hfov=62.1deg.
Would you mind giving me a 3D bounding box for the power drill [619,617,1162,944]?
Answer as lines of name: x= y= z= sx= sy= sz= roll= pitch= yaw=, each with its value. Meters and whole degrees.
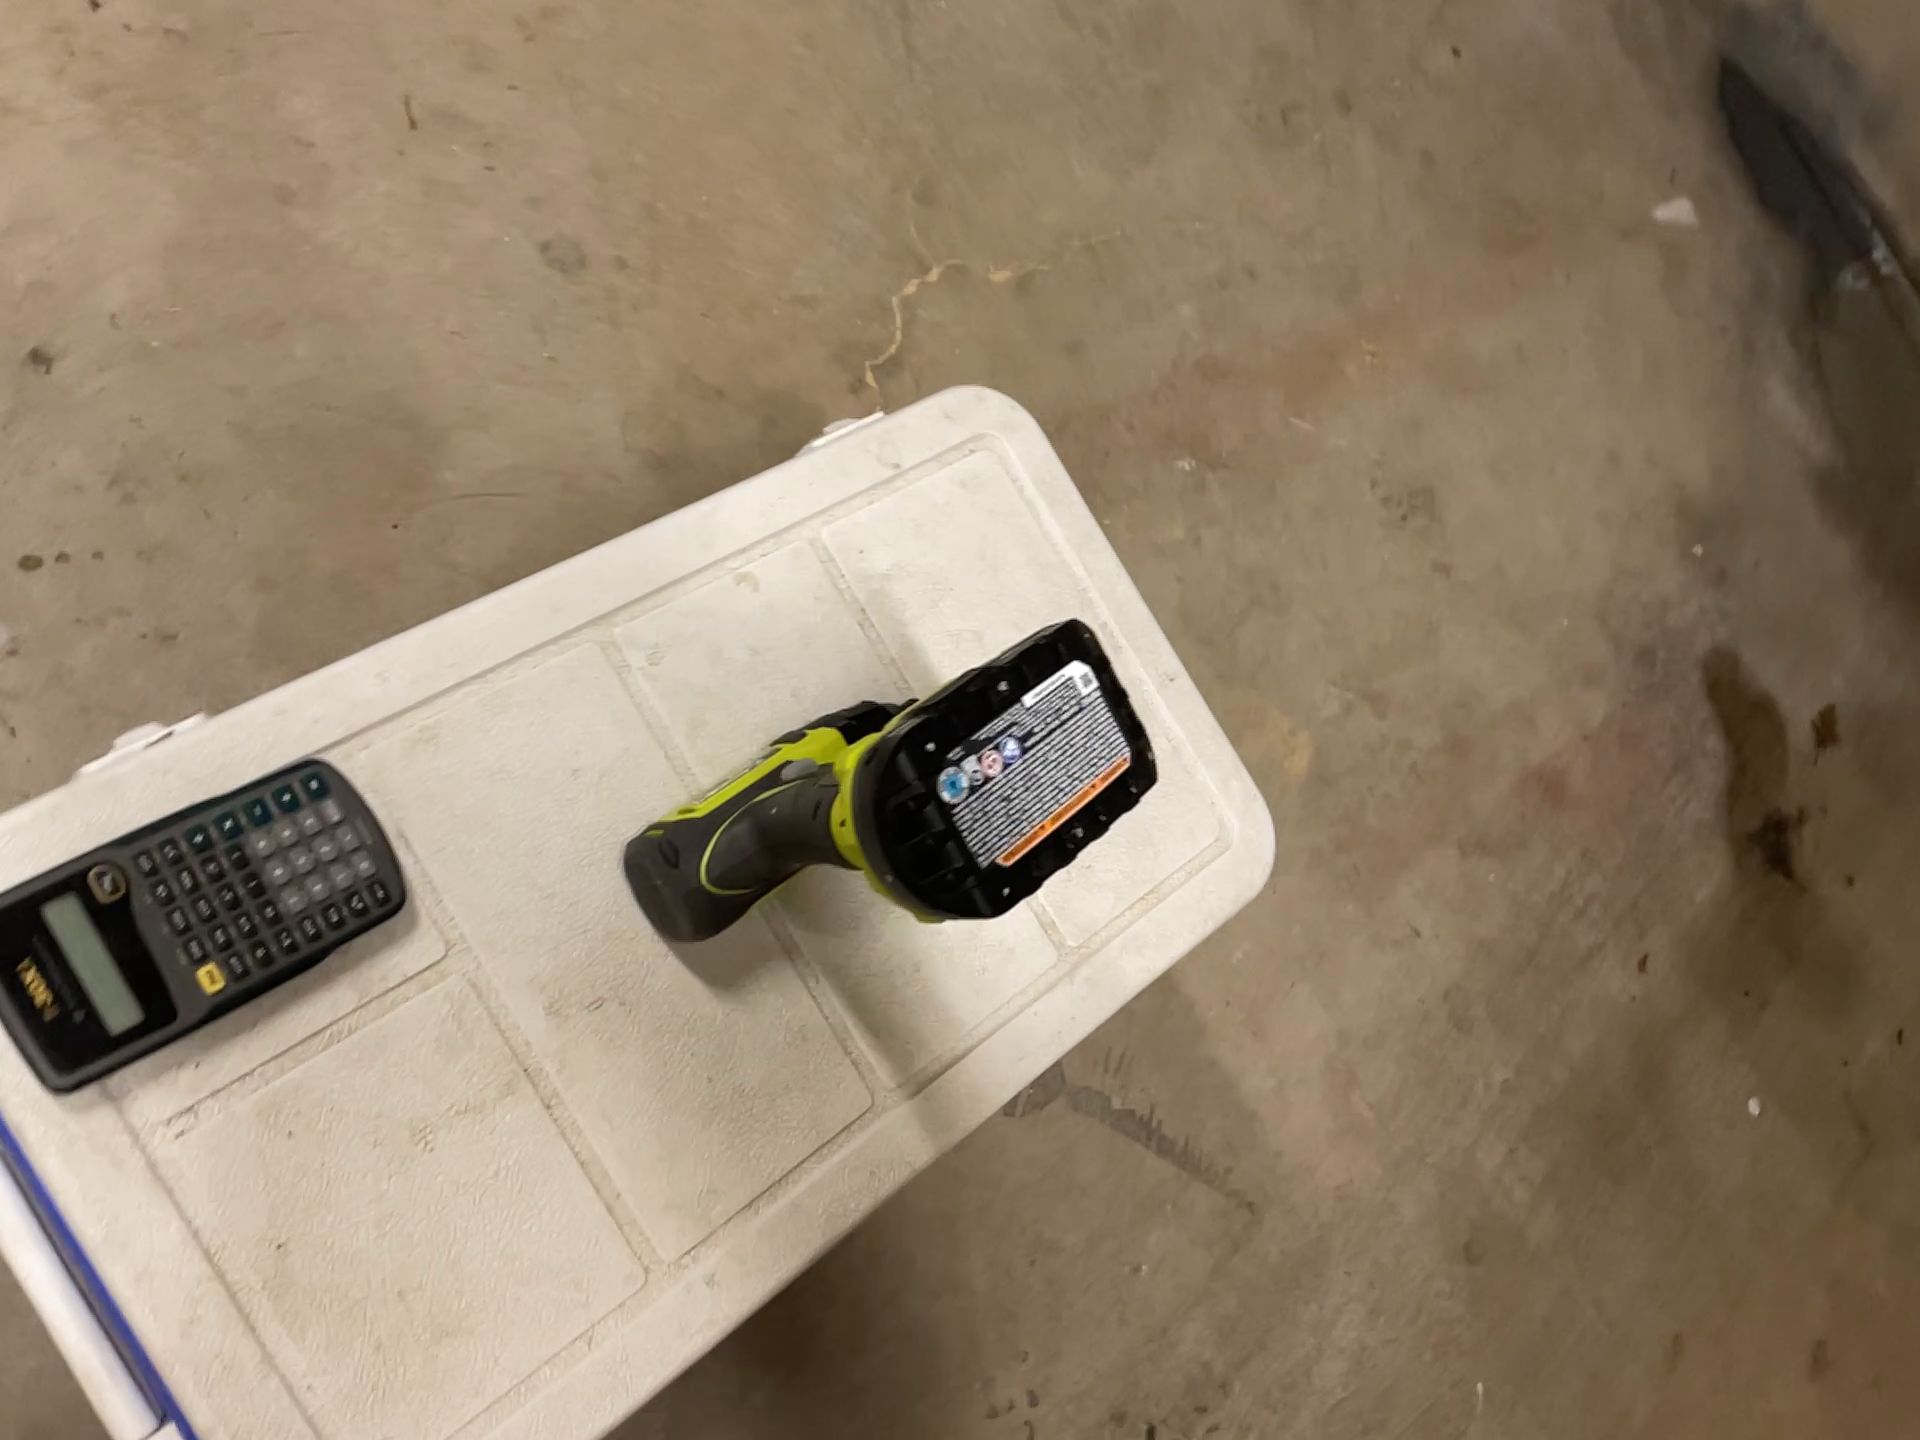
power drill: x=-0.029 y=0.026 z=0.678 sx=0.171 sy=0.223 sz=0.080 roll=-35 pitch=103 yaw=-34
